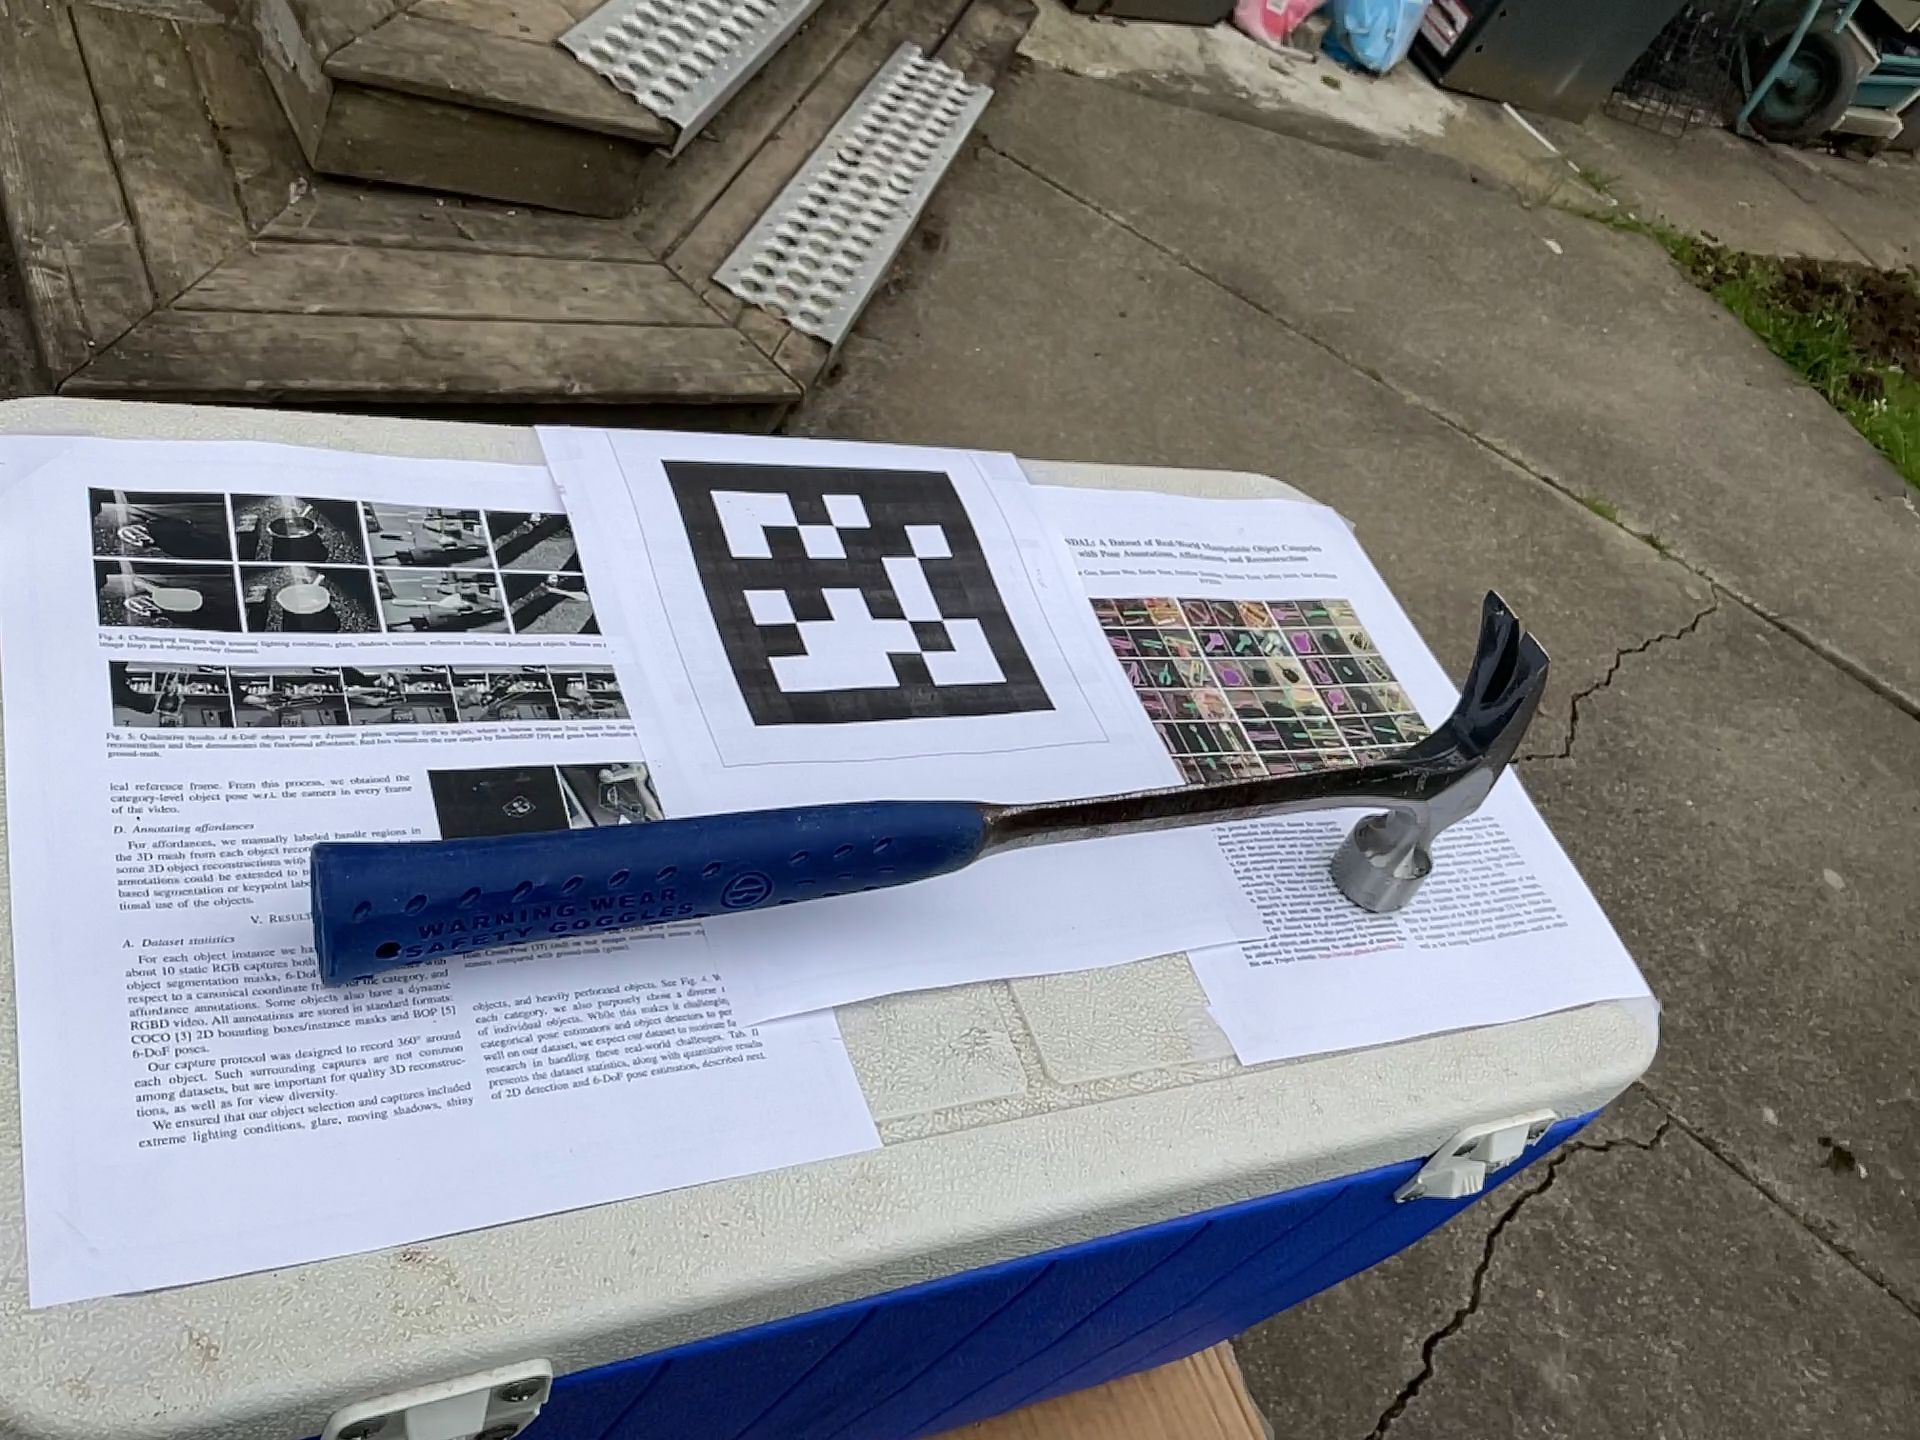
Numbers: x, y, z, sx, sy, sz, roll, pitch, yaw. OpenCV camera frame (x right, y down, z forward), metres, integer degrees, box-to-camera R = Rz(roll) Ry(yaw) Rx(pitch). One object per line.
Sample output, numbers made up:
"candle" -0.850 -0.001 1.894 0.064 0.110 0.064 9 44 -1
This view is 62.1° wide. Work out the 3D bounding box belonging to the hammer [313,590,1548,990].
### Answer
"hammer" 0.013 0.031 0.506 0.405 0.144 0.035 -5 48 -25
